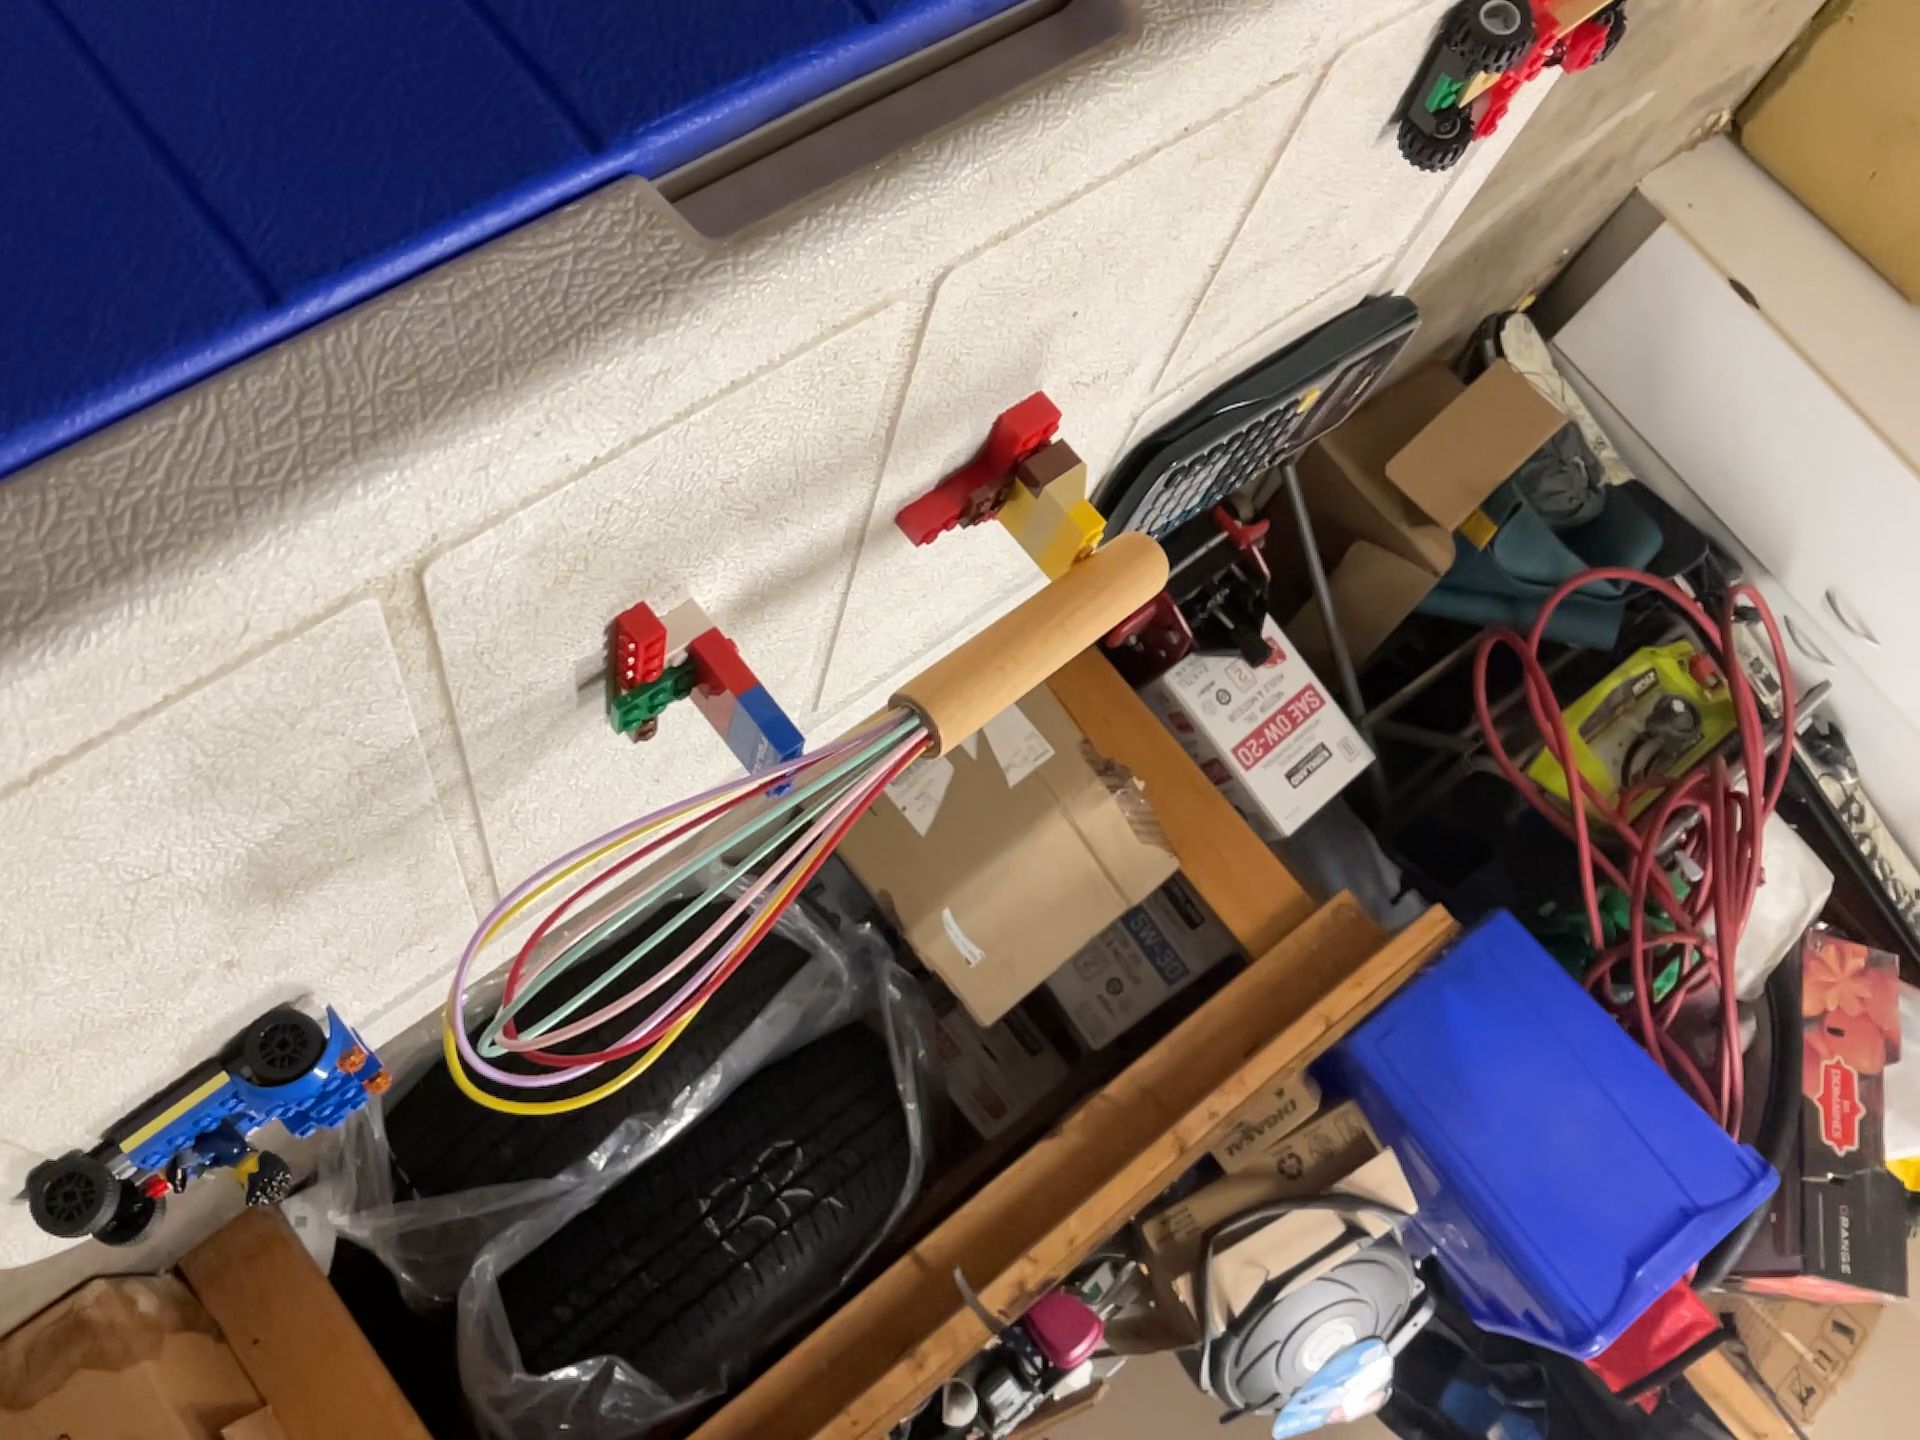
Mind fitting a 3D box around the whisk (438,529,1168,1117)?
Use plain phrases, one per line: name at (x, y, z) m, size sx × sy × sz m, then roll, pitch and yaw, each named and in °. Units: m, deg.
whisk at (-0.027, 0.017, 0.414) m, size 0.245 × 0.047 × 0.051 m, roll -37°, pitch 157°, yaw -31°
